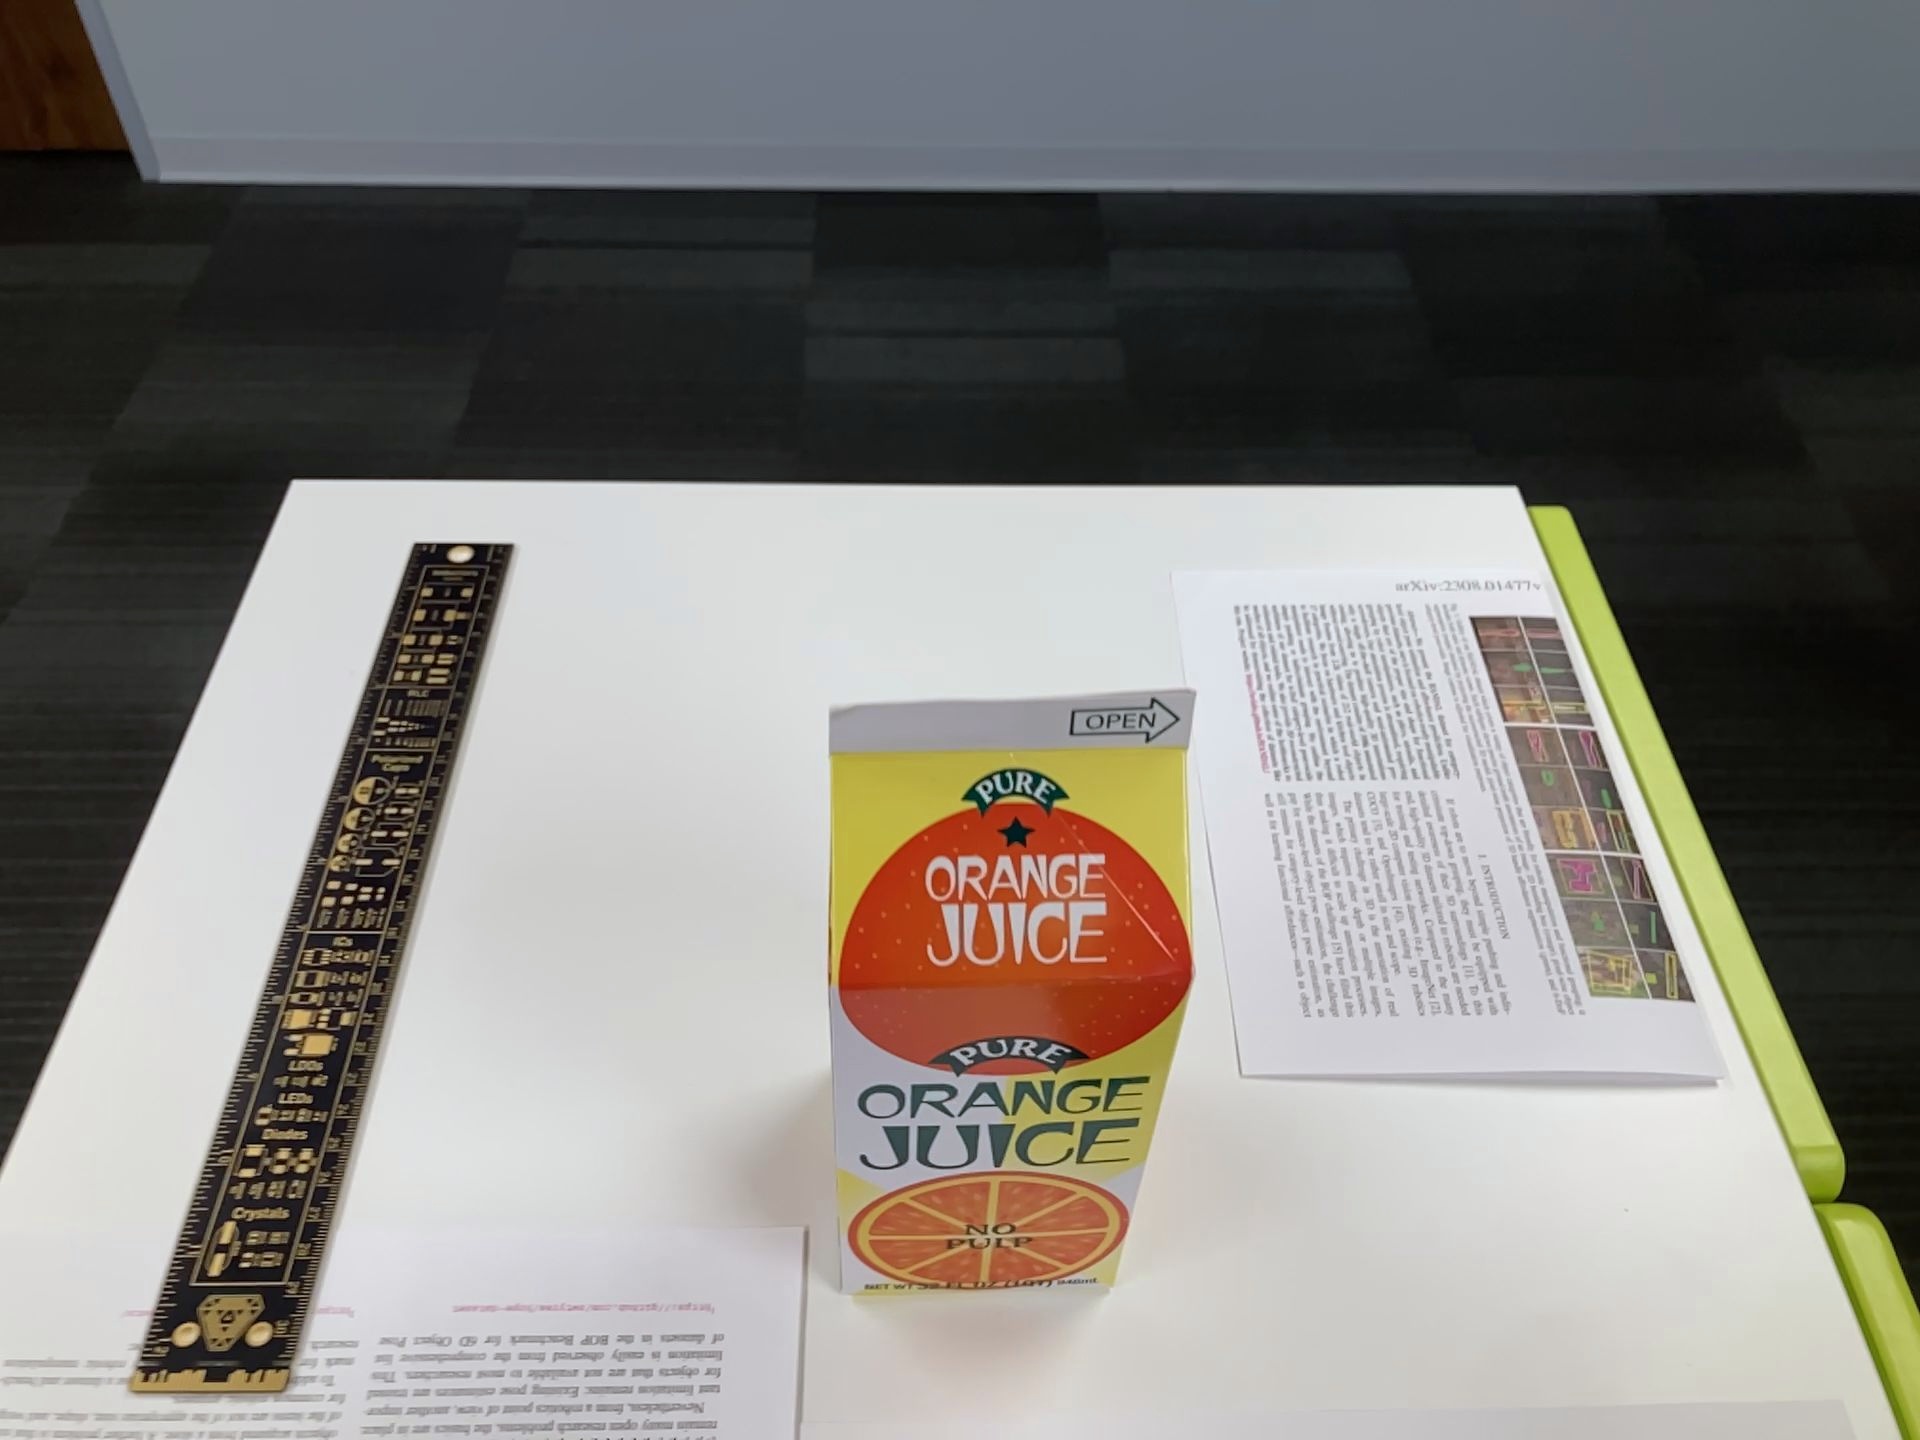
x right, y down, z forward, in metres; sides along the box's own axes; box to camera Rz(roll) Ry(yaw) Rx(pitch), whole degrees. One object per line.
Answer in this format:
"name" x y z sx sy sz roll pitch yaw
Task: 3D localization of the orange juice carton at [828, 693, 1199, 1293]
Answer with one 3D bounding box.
"orange juice carton" 0.007 0.060 0.367 0.072 0.192 0.073 -1 48 -3
